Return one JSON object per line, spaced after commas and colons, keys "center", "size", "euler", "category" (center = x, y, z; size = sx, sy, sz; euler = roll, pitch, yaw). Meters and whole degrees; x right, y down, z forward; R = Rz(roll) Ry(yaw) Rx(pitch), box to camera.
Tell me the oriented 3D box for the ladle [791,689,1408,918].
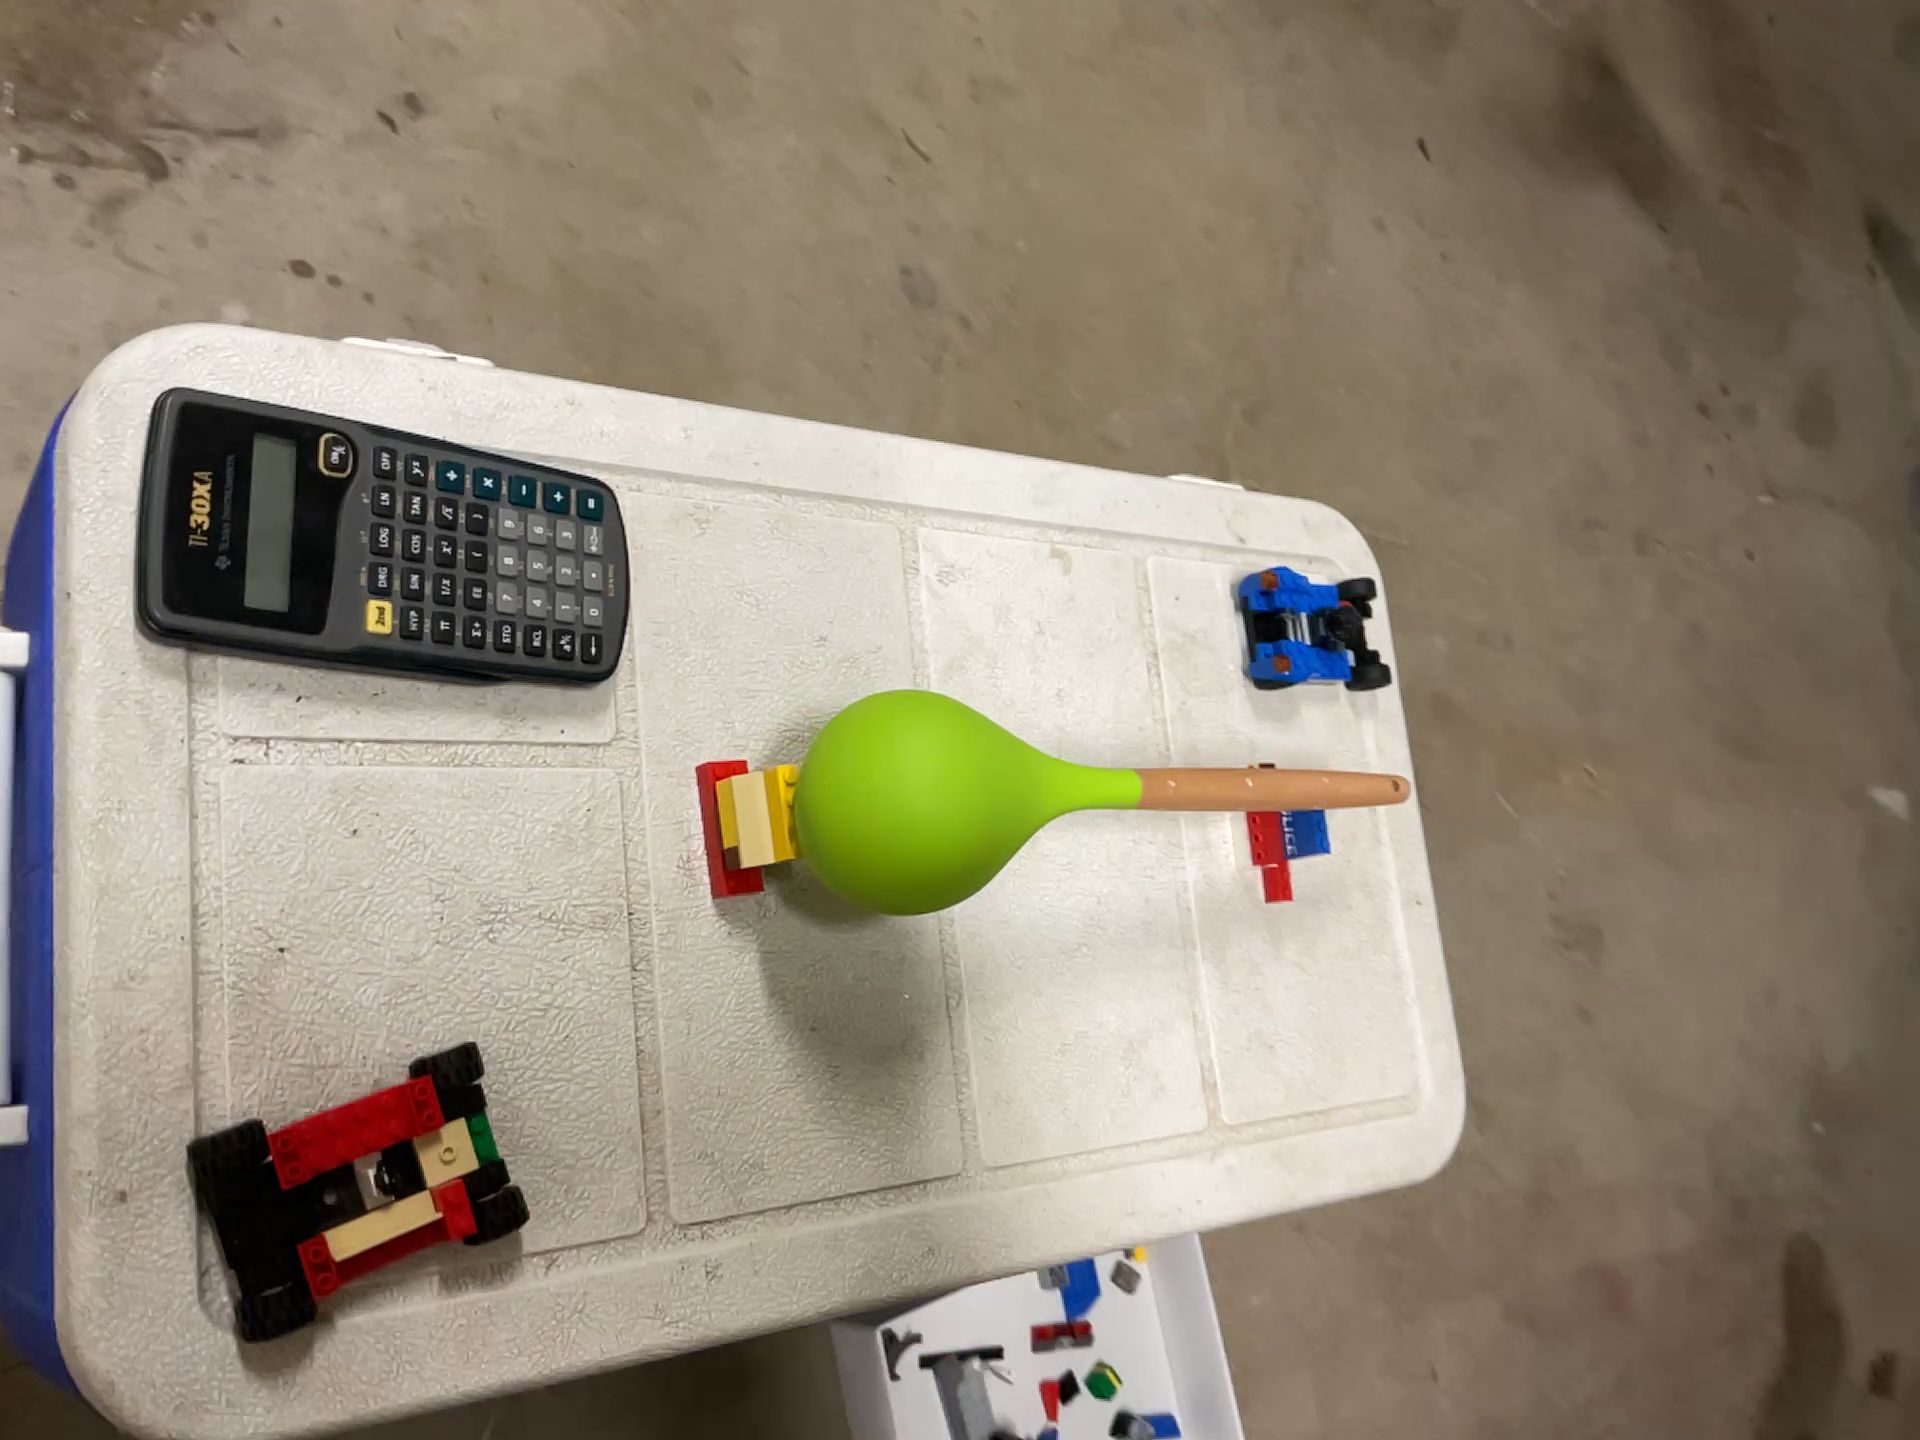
{"center": [0.073, 0.030, 0.622], "size": [0.320, 0.062, 0.078], "euler": [3, 70, -43], "category": "ladle"}
